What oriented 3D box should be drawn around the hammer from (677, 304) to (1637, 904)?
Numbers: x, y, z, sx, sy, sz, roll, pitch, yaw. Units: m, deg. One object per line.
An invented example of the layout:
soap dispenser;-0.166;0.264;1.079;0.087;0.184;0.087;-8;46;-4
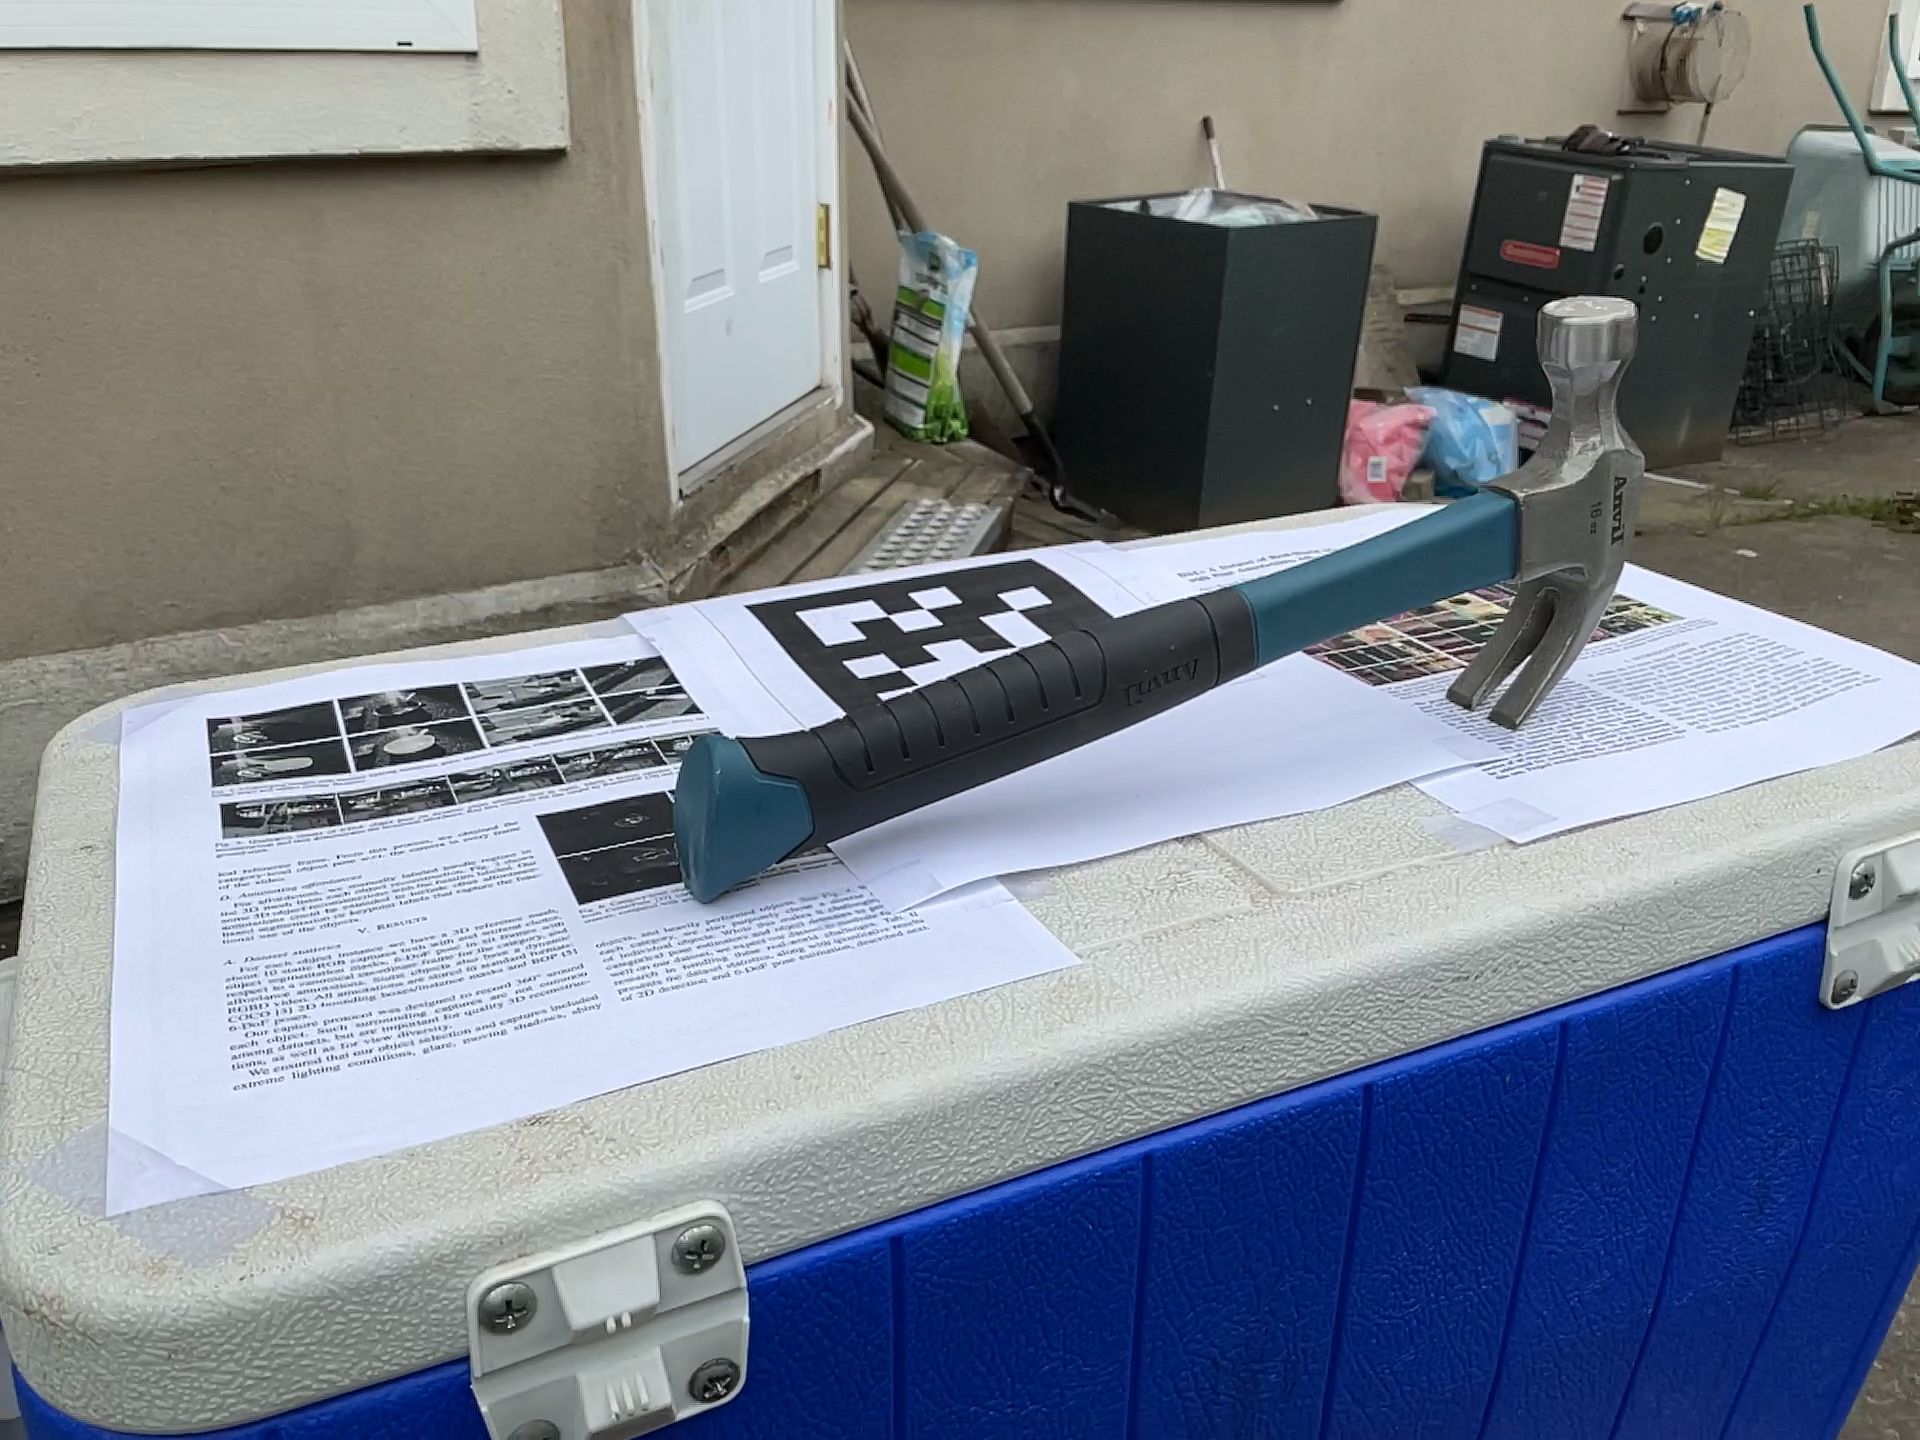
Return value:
hammer;0.072;-0.023;0.478;0.331;0.128;0.033;-20;27;-20
